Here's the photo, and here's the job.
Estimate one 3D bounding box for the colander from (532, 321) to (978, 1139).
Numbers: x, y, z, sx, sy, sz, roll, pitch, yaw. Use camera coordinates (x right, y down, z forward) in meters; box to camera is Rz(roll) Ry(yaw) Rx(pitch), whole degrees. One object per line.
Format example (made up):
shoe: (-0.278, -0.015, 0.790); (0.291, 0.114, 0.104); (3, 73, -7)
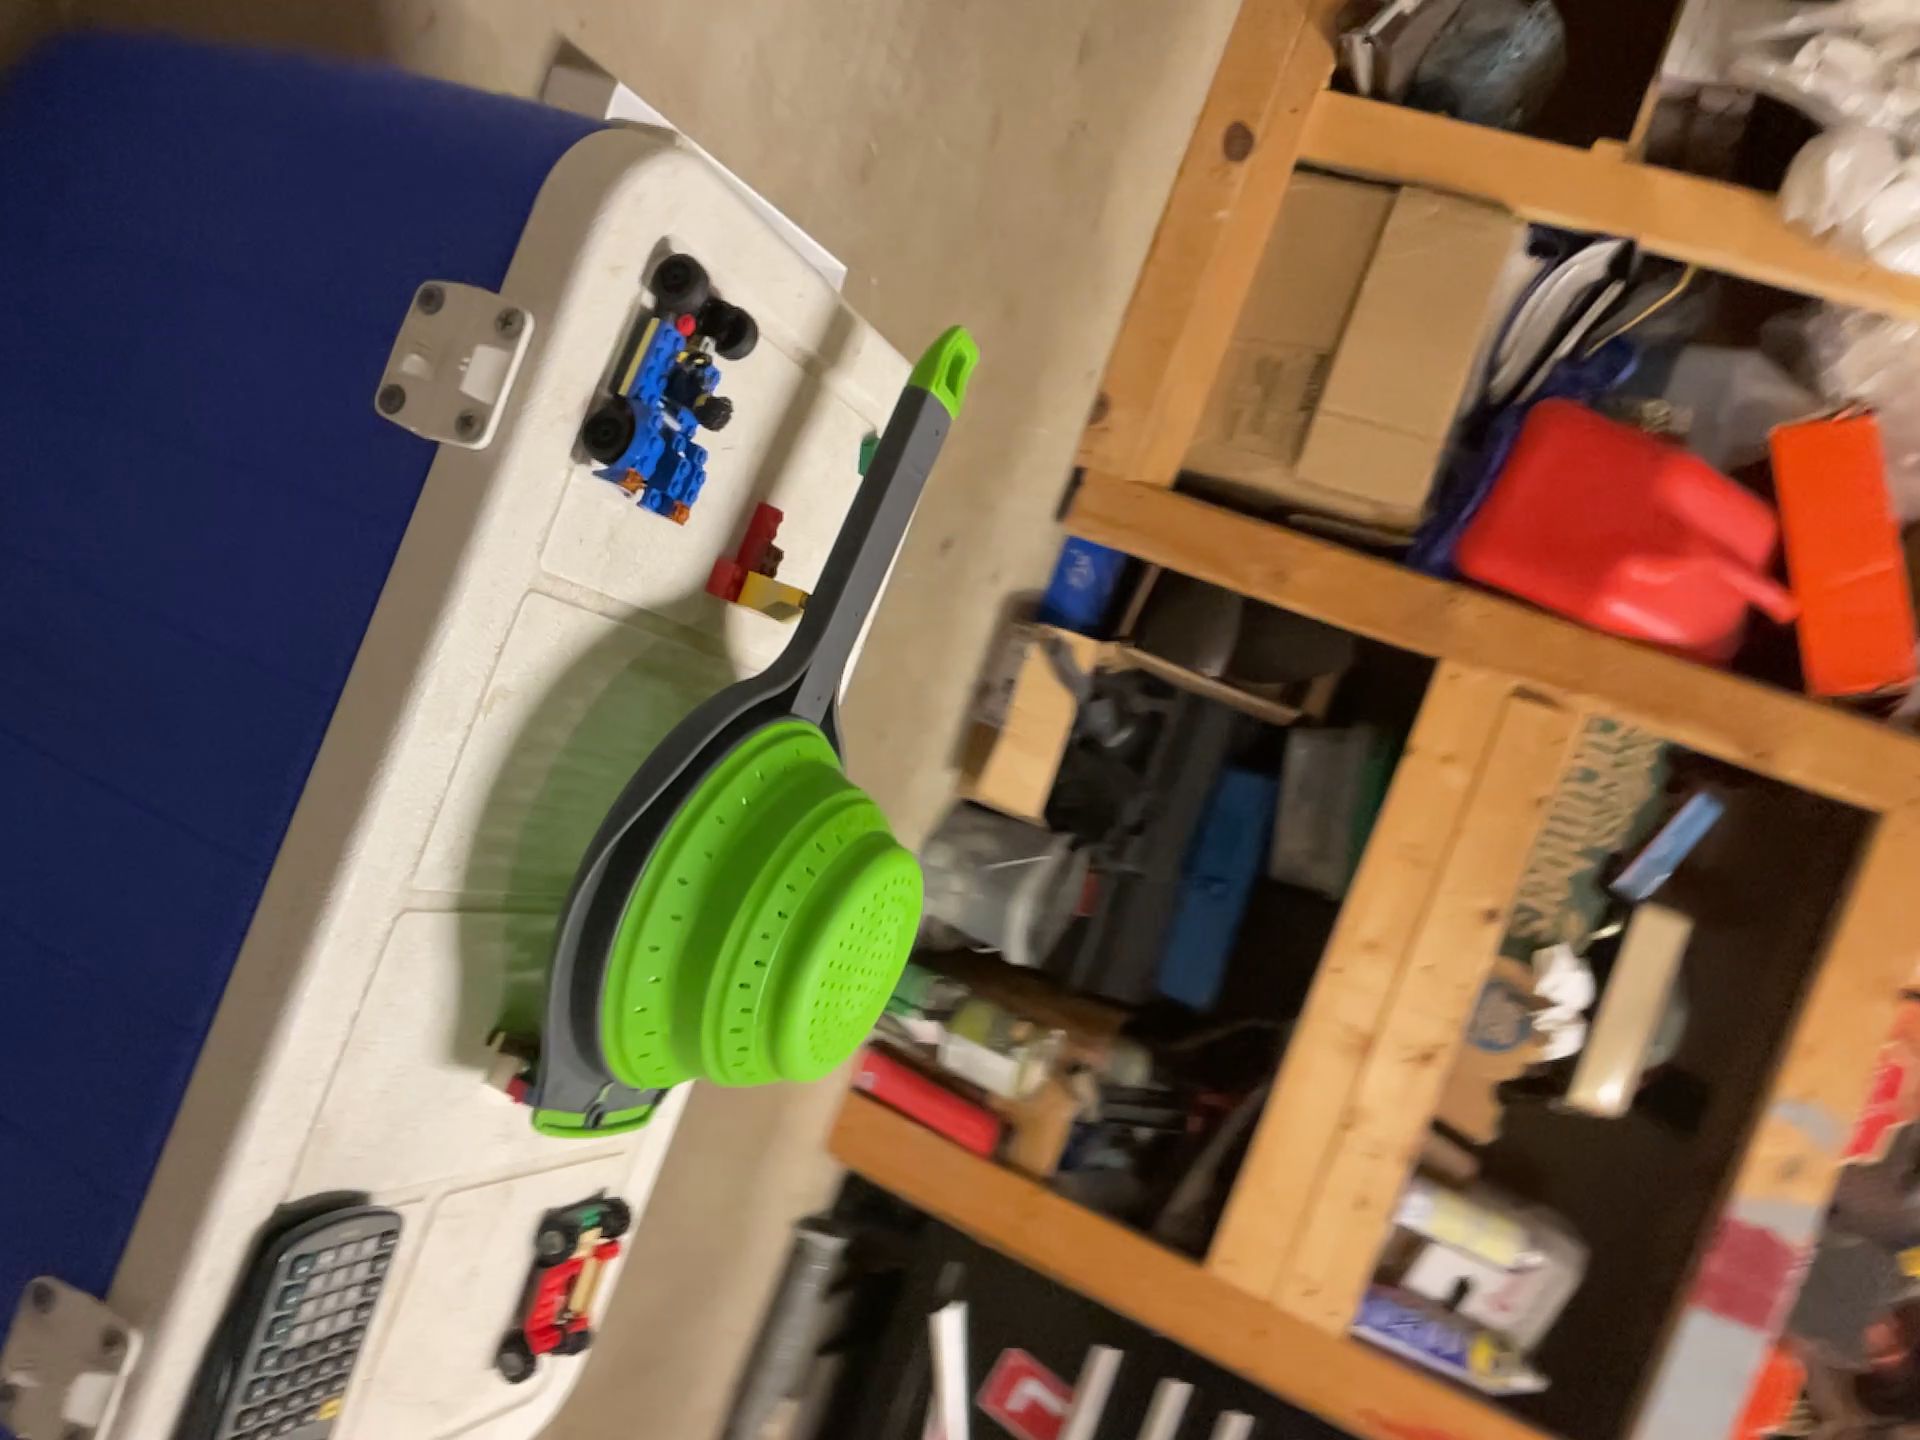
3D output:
colander: (-0.048, 0.015, 0.701); (0.397, 0.094, 0.204); (-66, 160, -5)
